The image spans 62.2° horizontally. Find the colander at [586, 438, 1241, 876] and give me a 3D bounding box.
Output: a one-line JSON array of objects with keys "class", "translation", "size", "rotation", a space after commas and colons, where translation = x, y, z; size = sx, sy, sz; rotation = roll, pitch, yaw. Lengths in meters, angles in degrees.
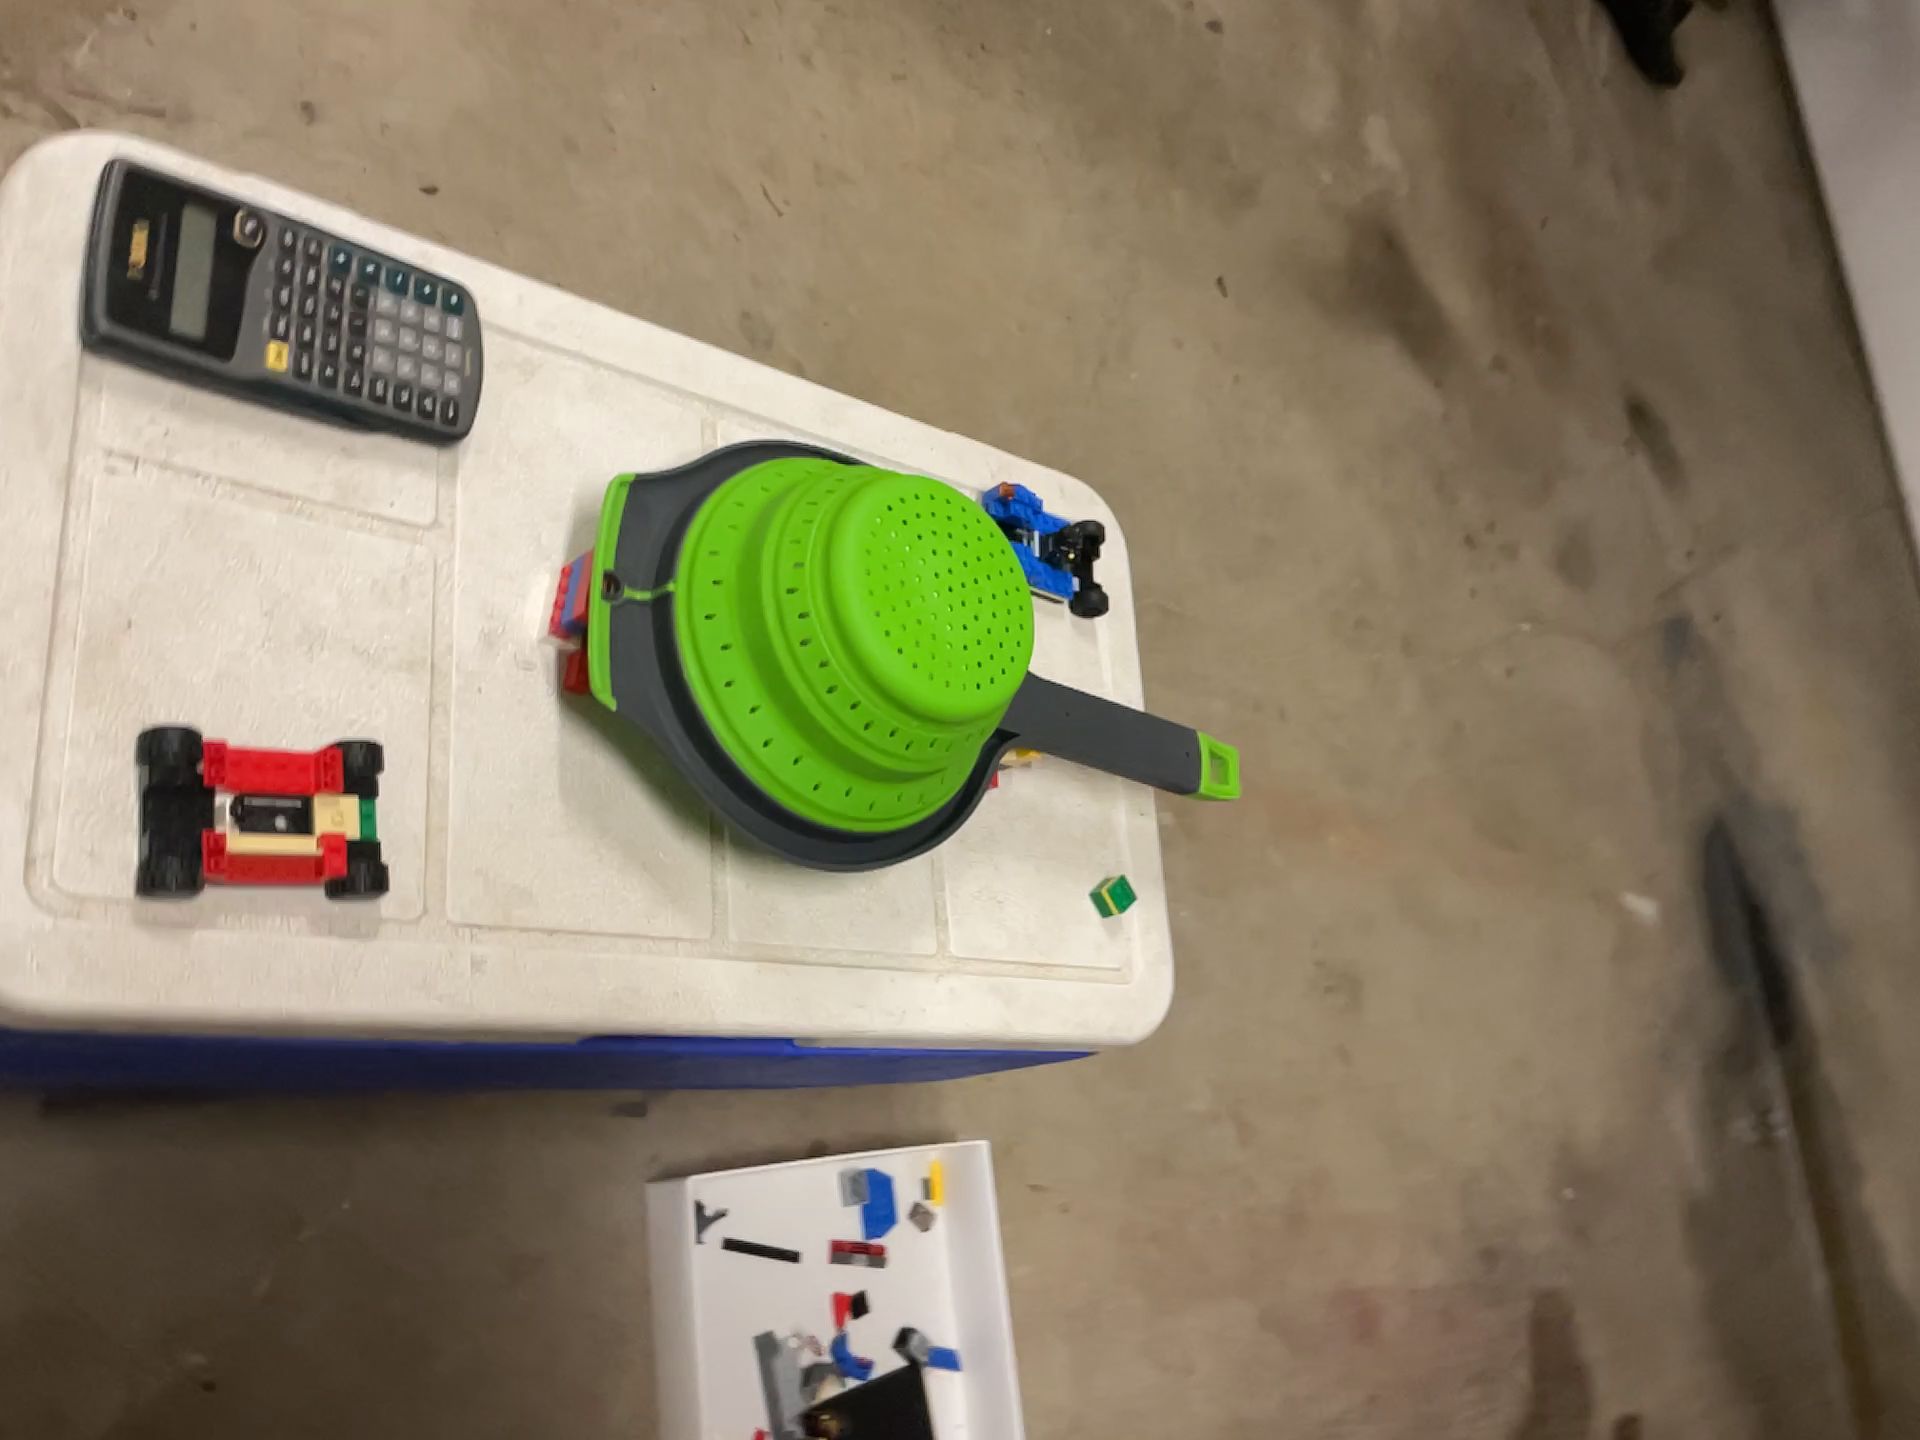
[{"class": "colander", "translation": [0.026, -0.023, 0.740], "size": [0.396, 0.094, 0.205], "rotation": [17, 64, -38]}]
